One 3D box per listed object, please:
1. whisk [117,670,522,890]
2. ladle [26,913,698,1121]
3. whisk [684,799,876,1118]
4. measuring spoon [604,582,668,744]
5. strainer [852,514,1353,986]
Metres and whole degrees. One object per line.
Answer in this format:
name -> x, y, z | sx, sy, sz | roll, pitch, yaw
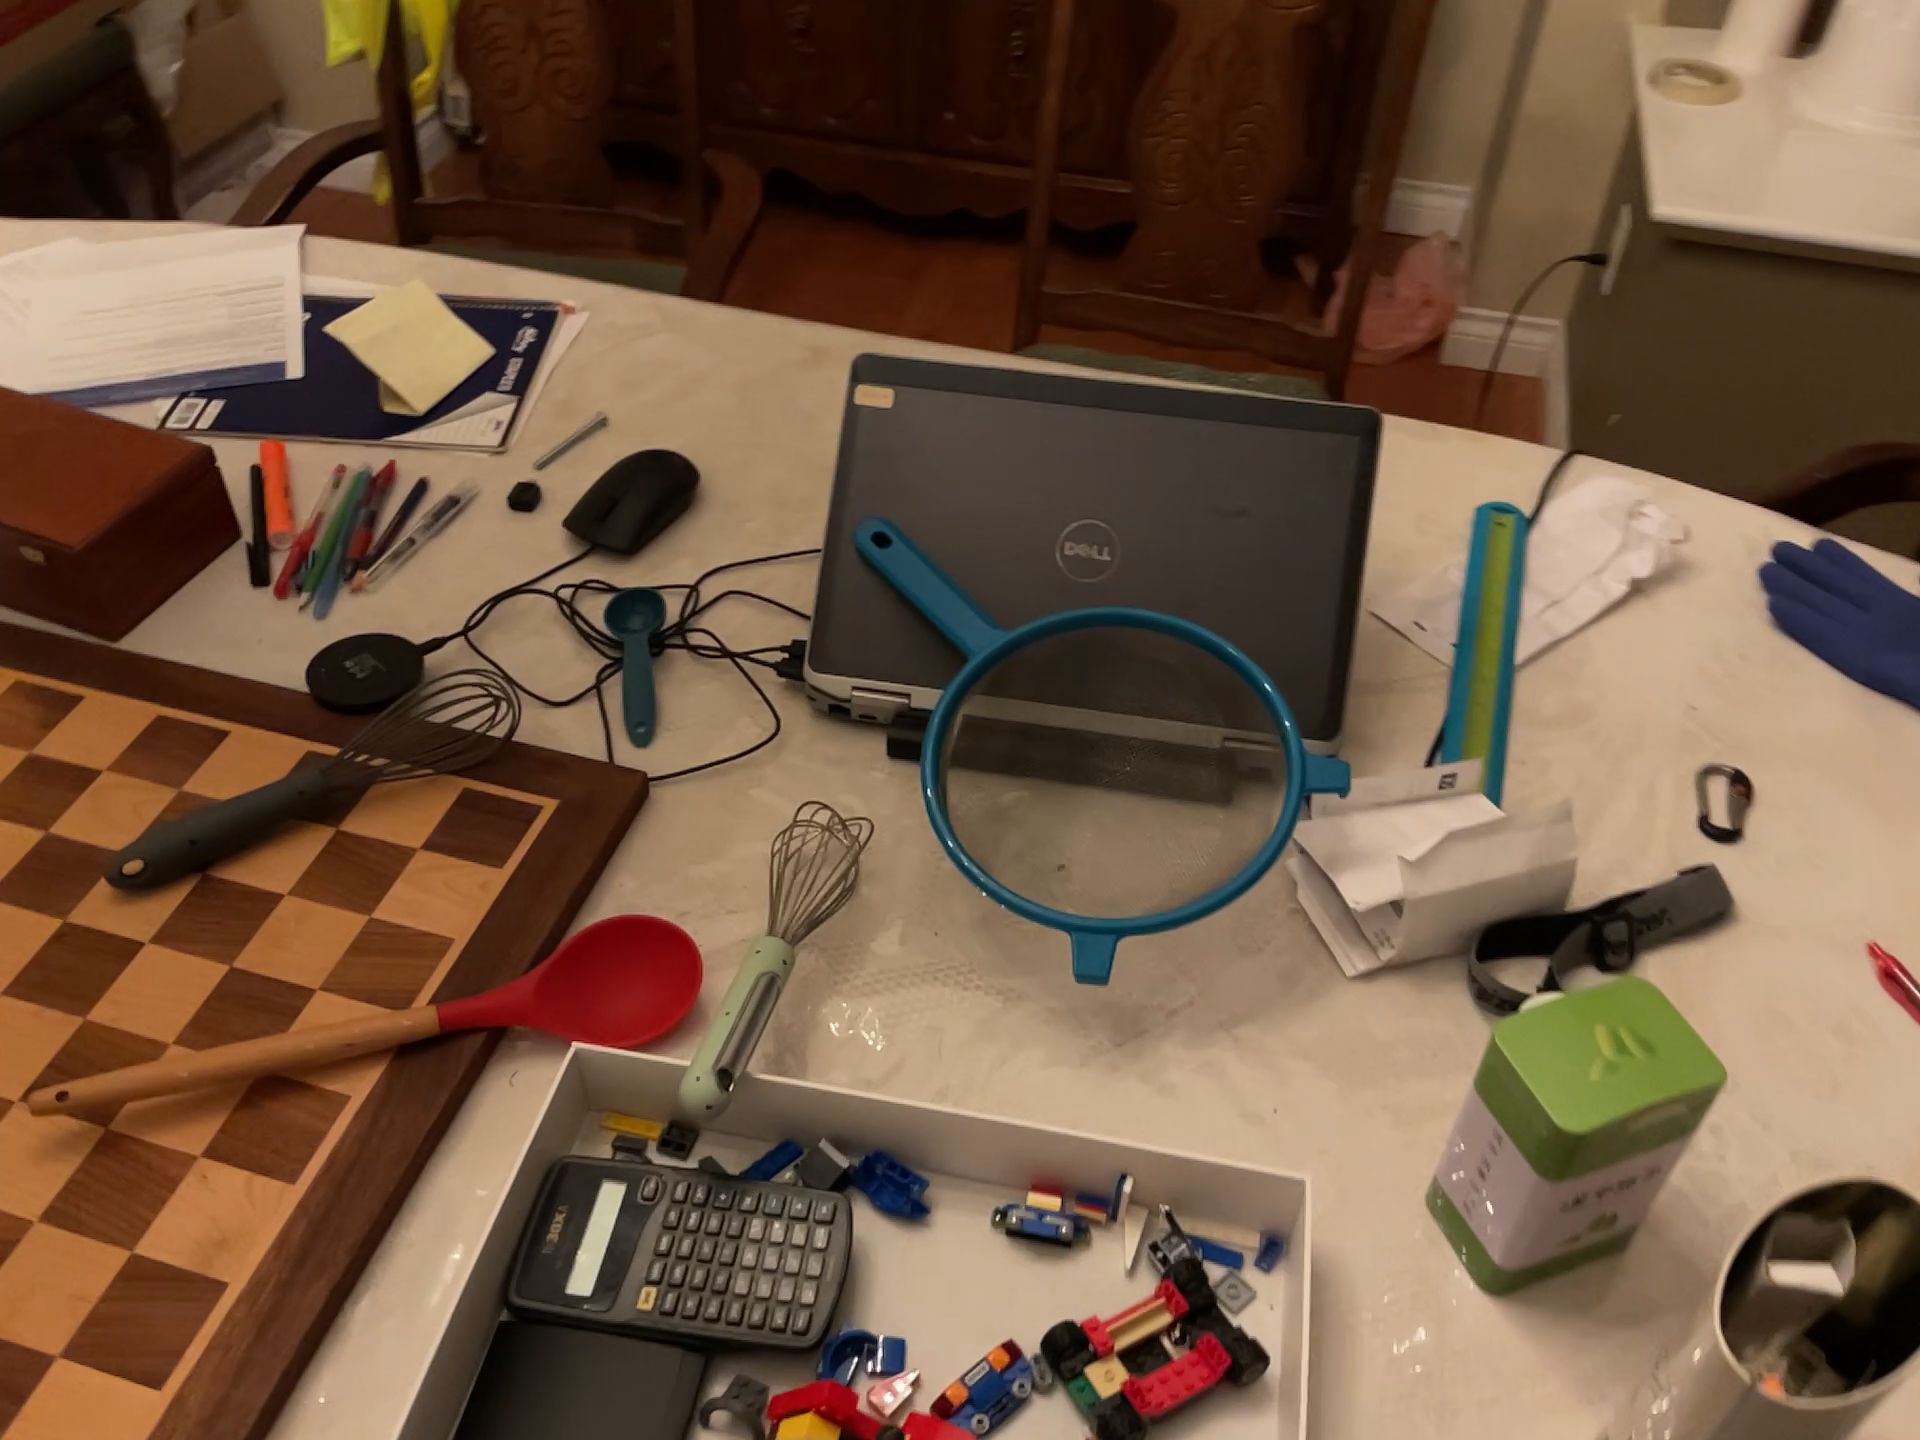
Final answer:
whisk -> -0.359, 0.035, 0.909 | 0.239, 0.055, 0.055 | -28, 38, -23
ladle -> -0.288, 0.156, 0.792 | 0.315, 0.031, 0.069 | -10, 67, -19
whisk -> -0.092, 0.116, 0.822 | 0.059, 0.057, 0.246 | -18, 23, 21
measuring spoon -> -0.204, -0.034, 1.026 | 0.042, 0.021, 0.129 | -11, 57, -3
strainer -> 0.047, 0.004, 0.932 | 0.211, 0.095, 0.341 | -35, 59, -16
